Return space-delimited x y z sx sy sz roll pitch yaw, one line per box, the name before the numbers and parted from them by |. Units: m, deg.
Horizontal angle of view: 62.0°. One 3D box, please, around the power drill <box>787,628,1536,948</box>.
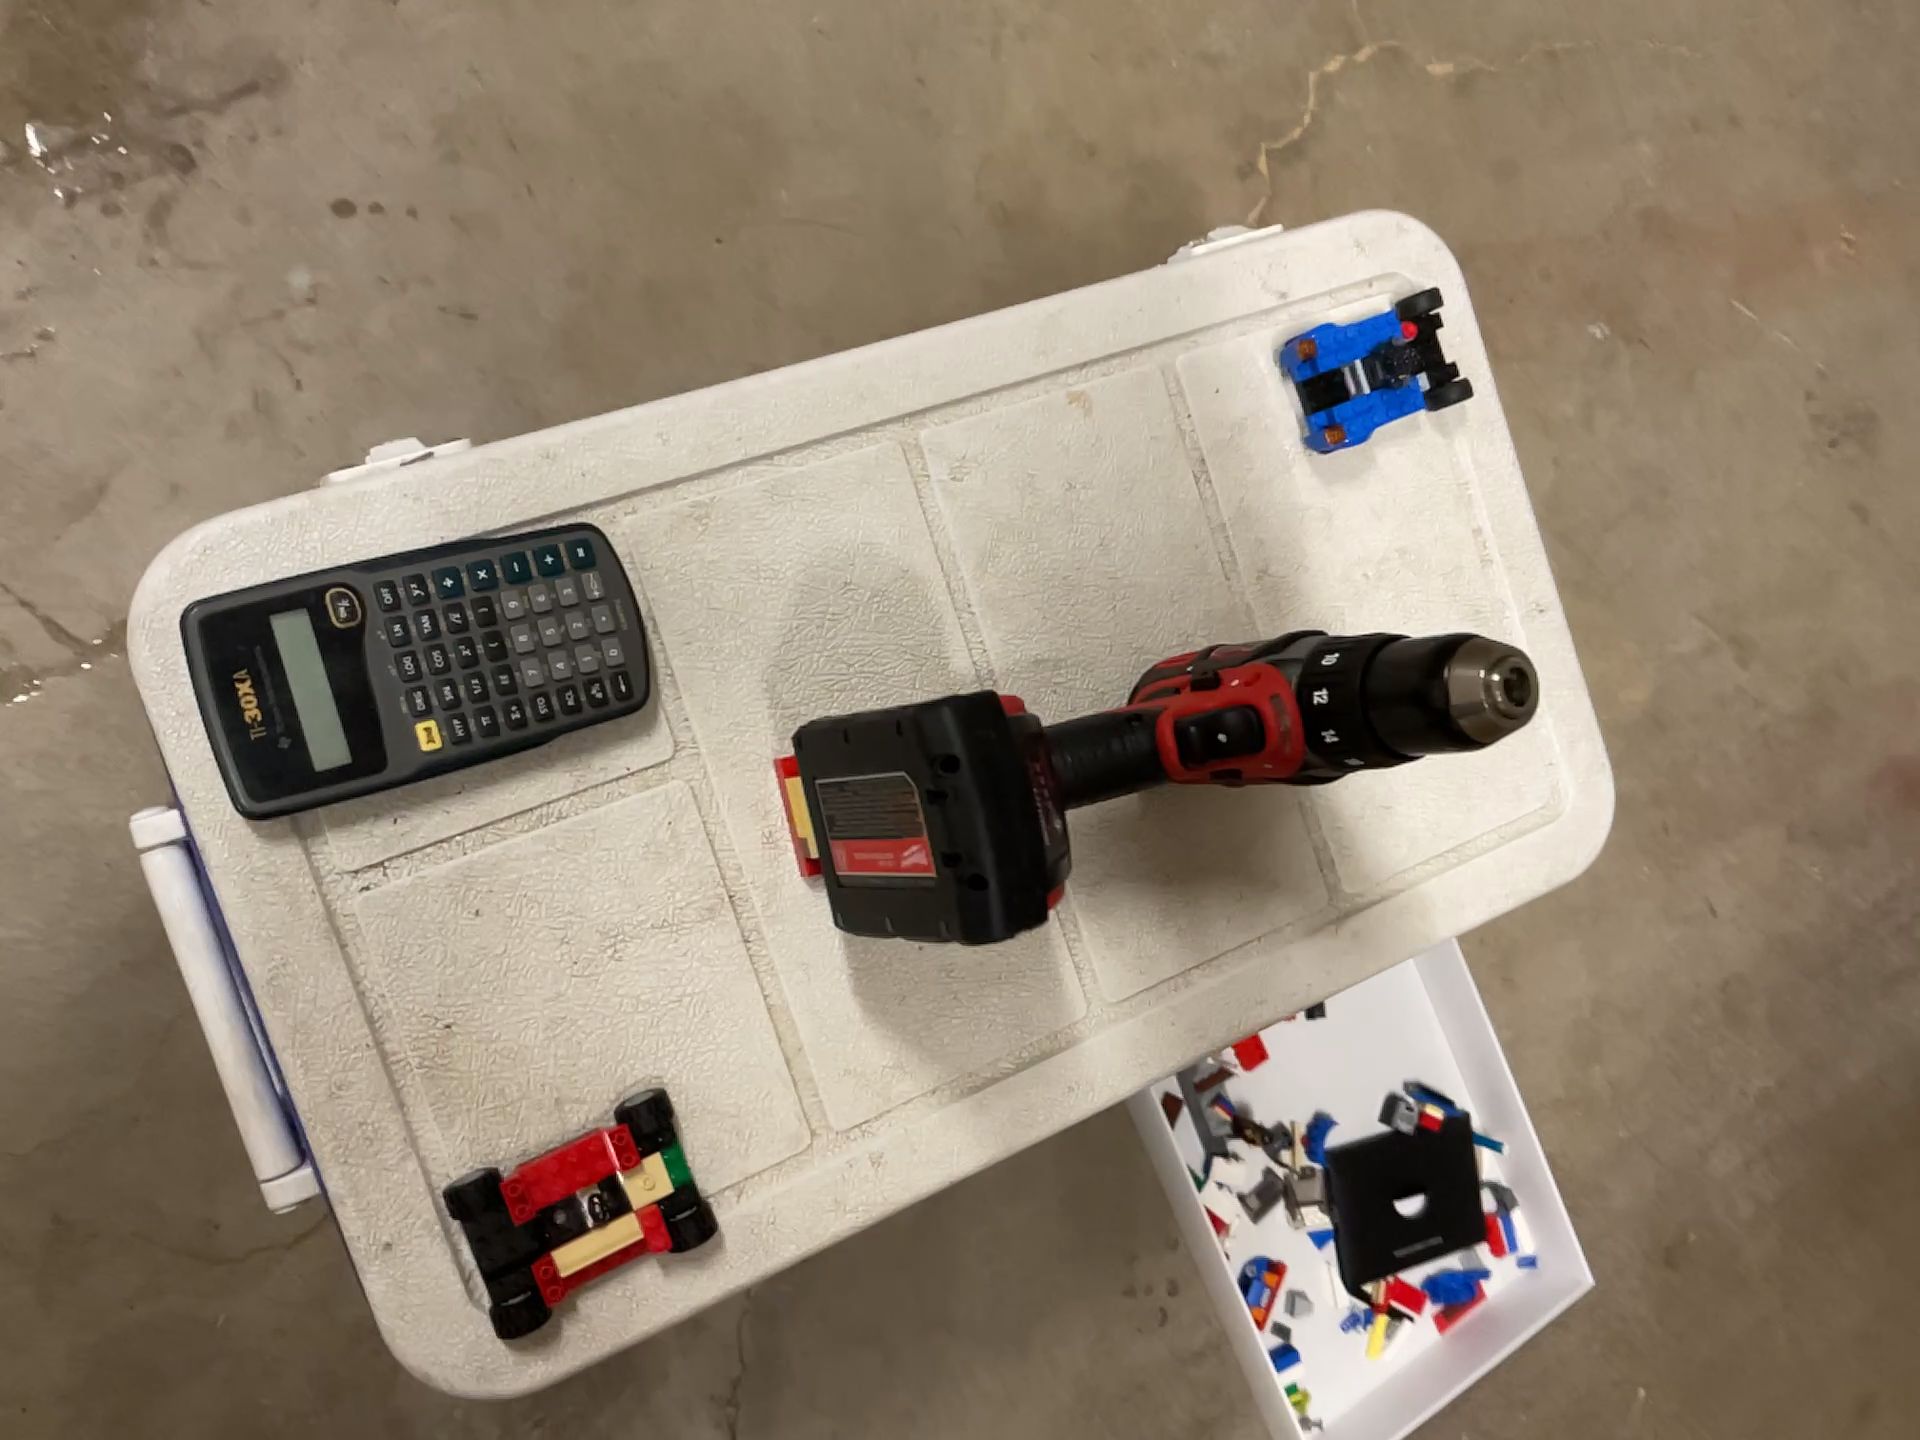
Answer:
power drill | 0.073 0.012 0.581 0.227 0.187 0.080 -15 94 -31
